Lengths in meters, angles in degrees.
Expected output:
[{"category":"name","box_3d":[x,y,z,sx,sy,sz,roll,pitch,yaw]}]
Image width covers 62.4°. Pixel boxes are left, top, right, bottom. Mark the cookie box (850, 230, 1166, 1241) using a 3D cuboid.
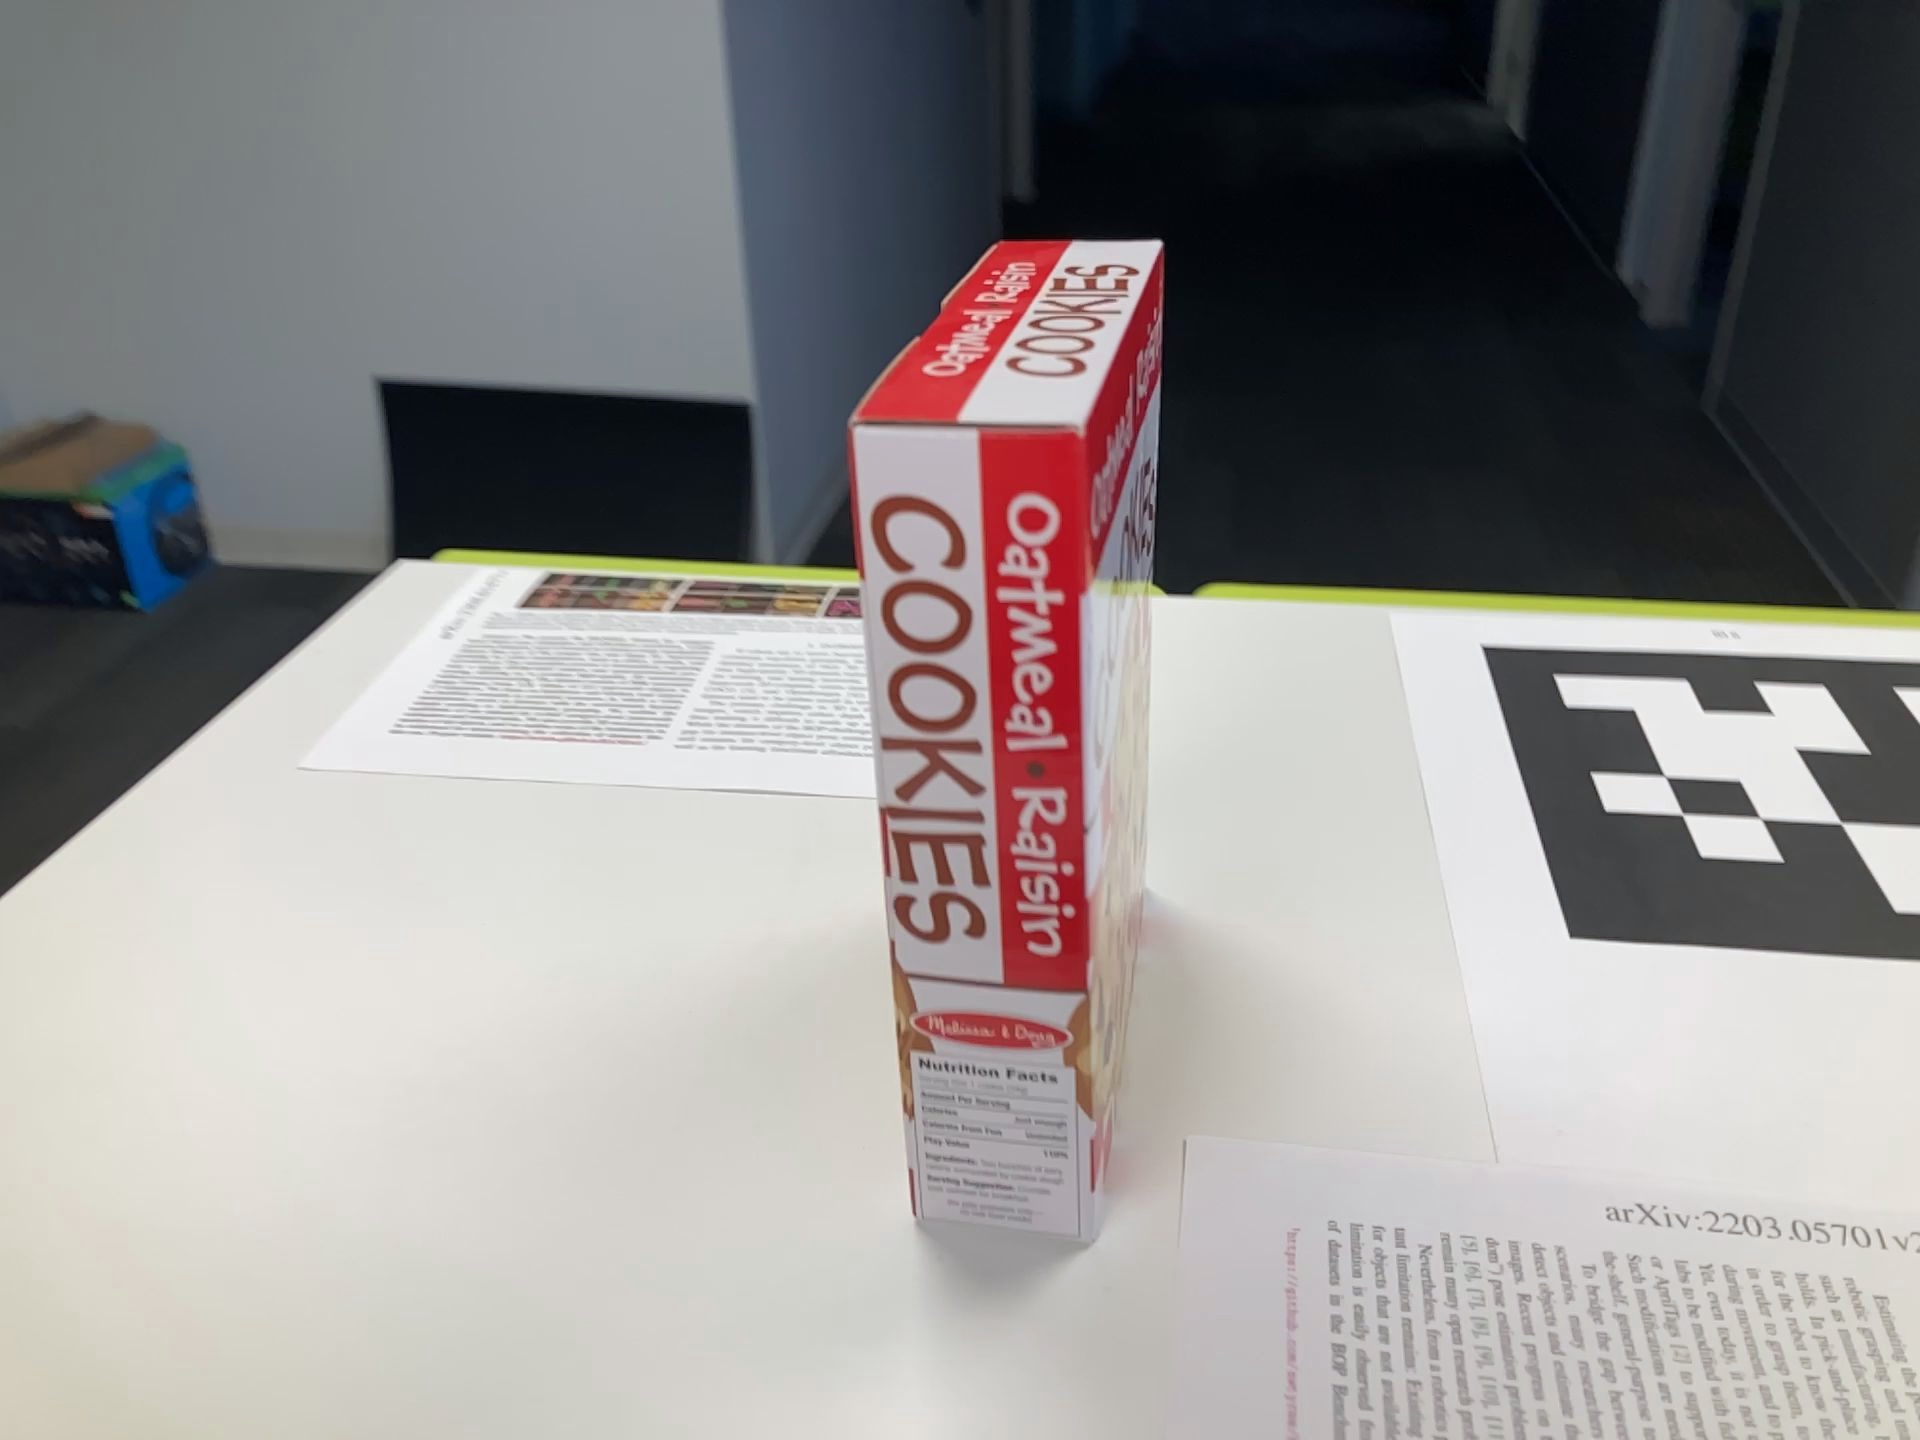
[{"category":"cookie box","box_3d":[0.015,-0.002,0.324,0.040,0.167,0.123,4,29,11]}]
